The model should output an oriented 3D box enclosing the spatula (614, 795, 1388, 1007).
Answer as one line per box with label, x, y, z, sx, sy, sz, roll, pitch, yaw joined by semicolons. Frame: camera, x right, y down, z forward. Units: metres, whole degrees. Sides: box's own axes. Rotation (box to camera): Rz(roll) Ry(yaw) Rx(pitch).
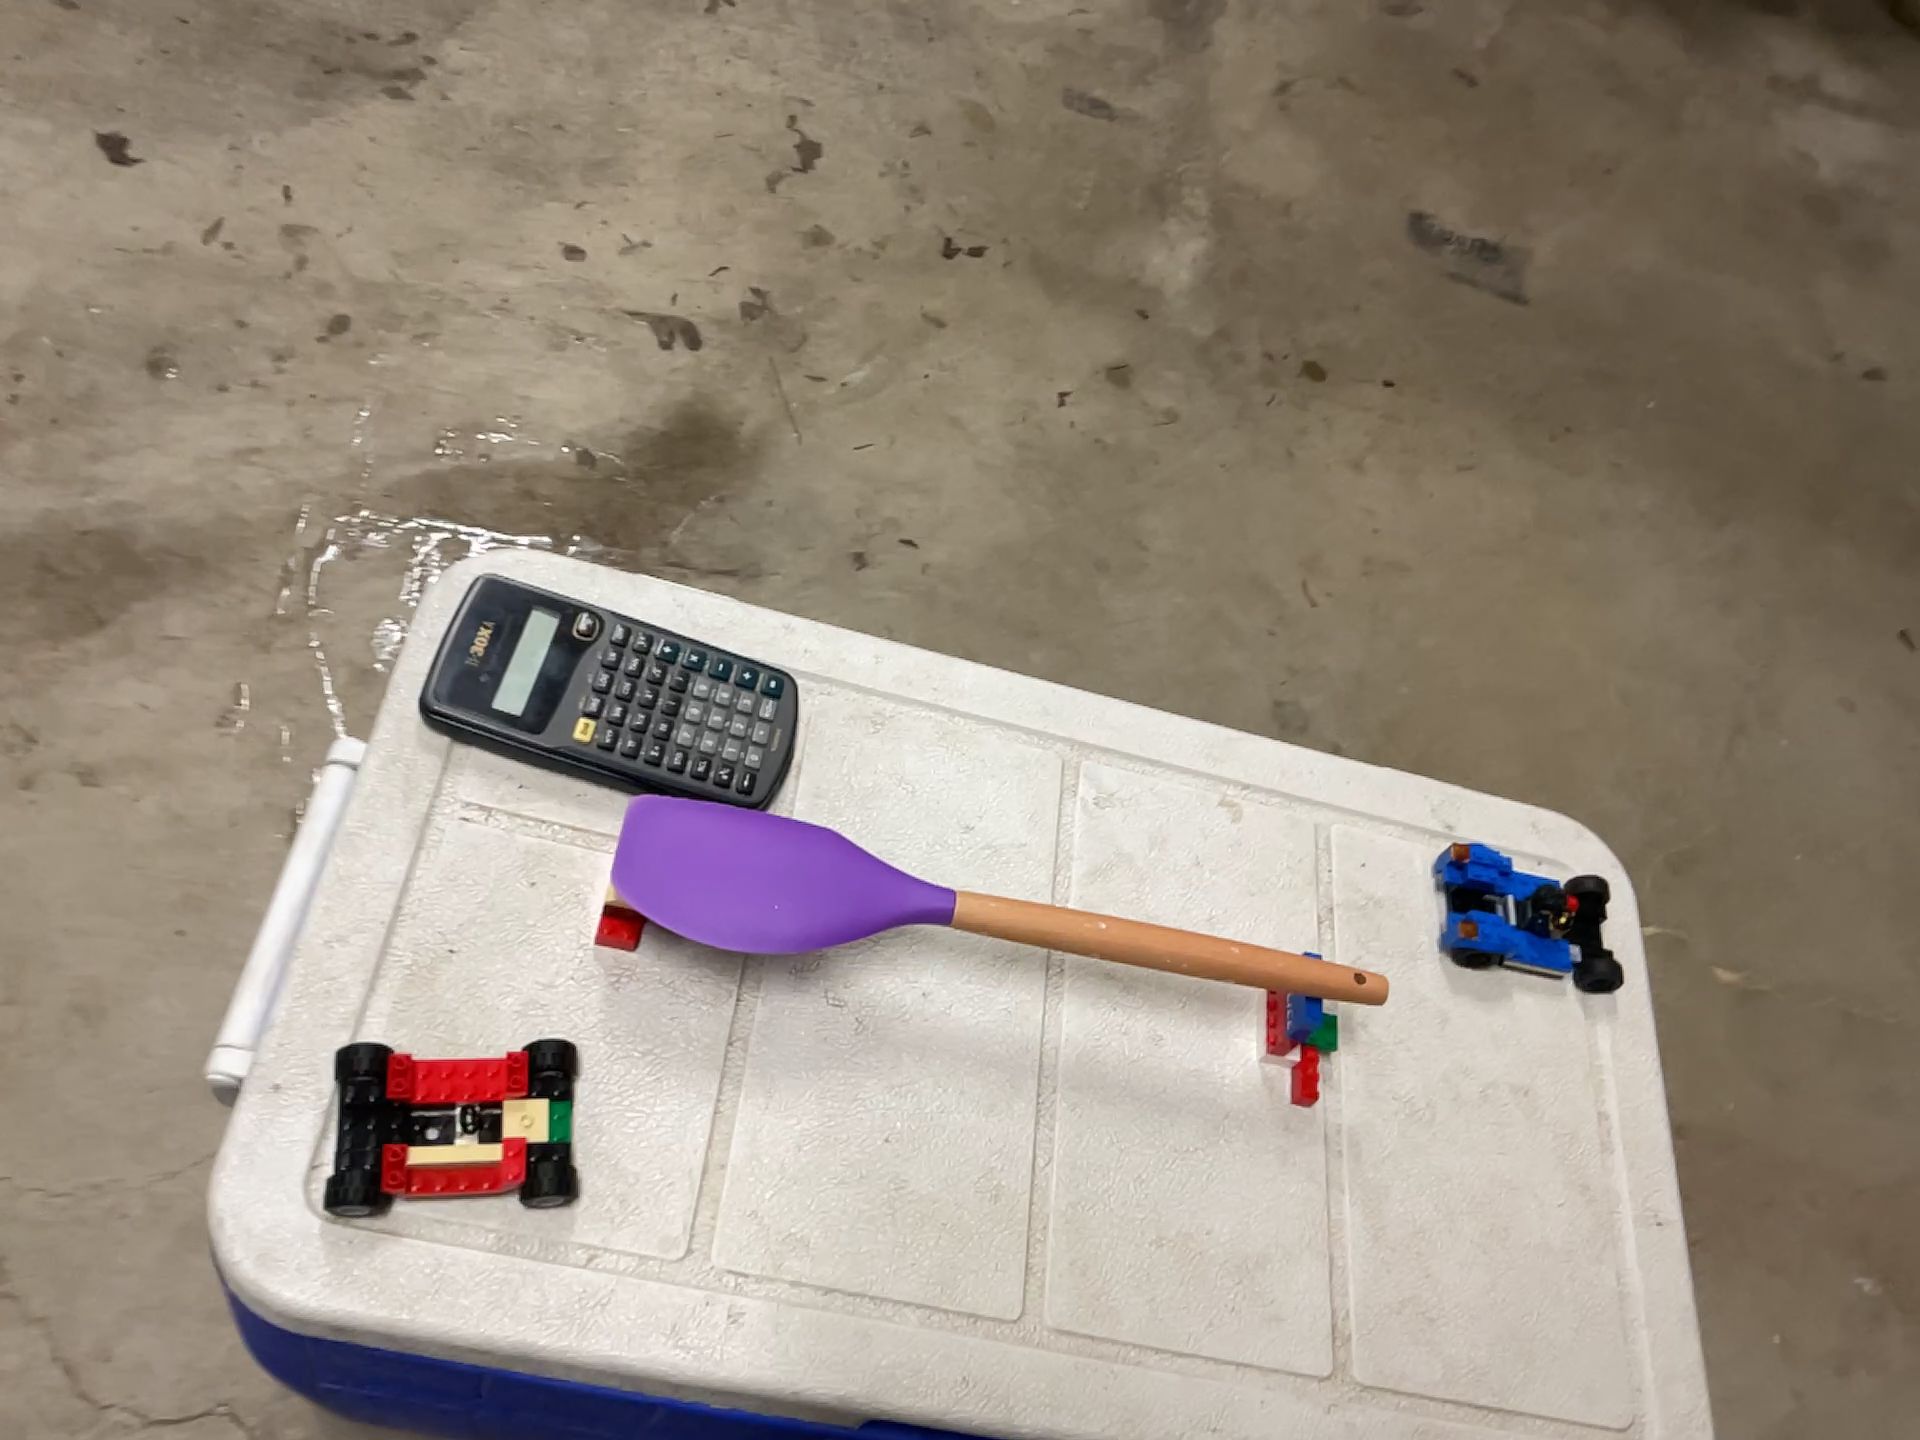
spatula;0.022;0.082;0.632;0.316;0.018;0.060;11;56;-10
